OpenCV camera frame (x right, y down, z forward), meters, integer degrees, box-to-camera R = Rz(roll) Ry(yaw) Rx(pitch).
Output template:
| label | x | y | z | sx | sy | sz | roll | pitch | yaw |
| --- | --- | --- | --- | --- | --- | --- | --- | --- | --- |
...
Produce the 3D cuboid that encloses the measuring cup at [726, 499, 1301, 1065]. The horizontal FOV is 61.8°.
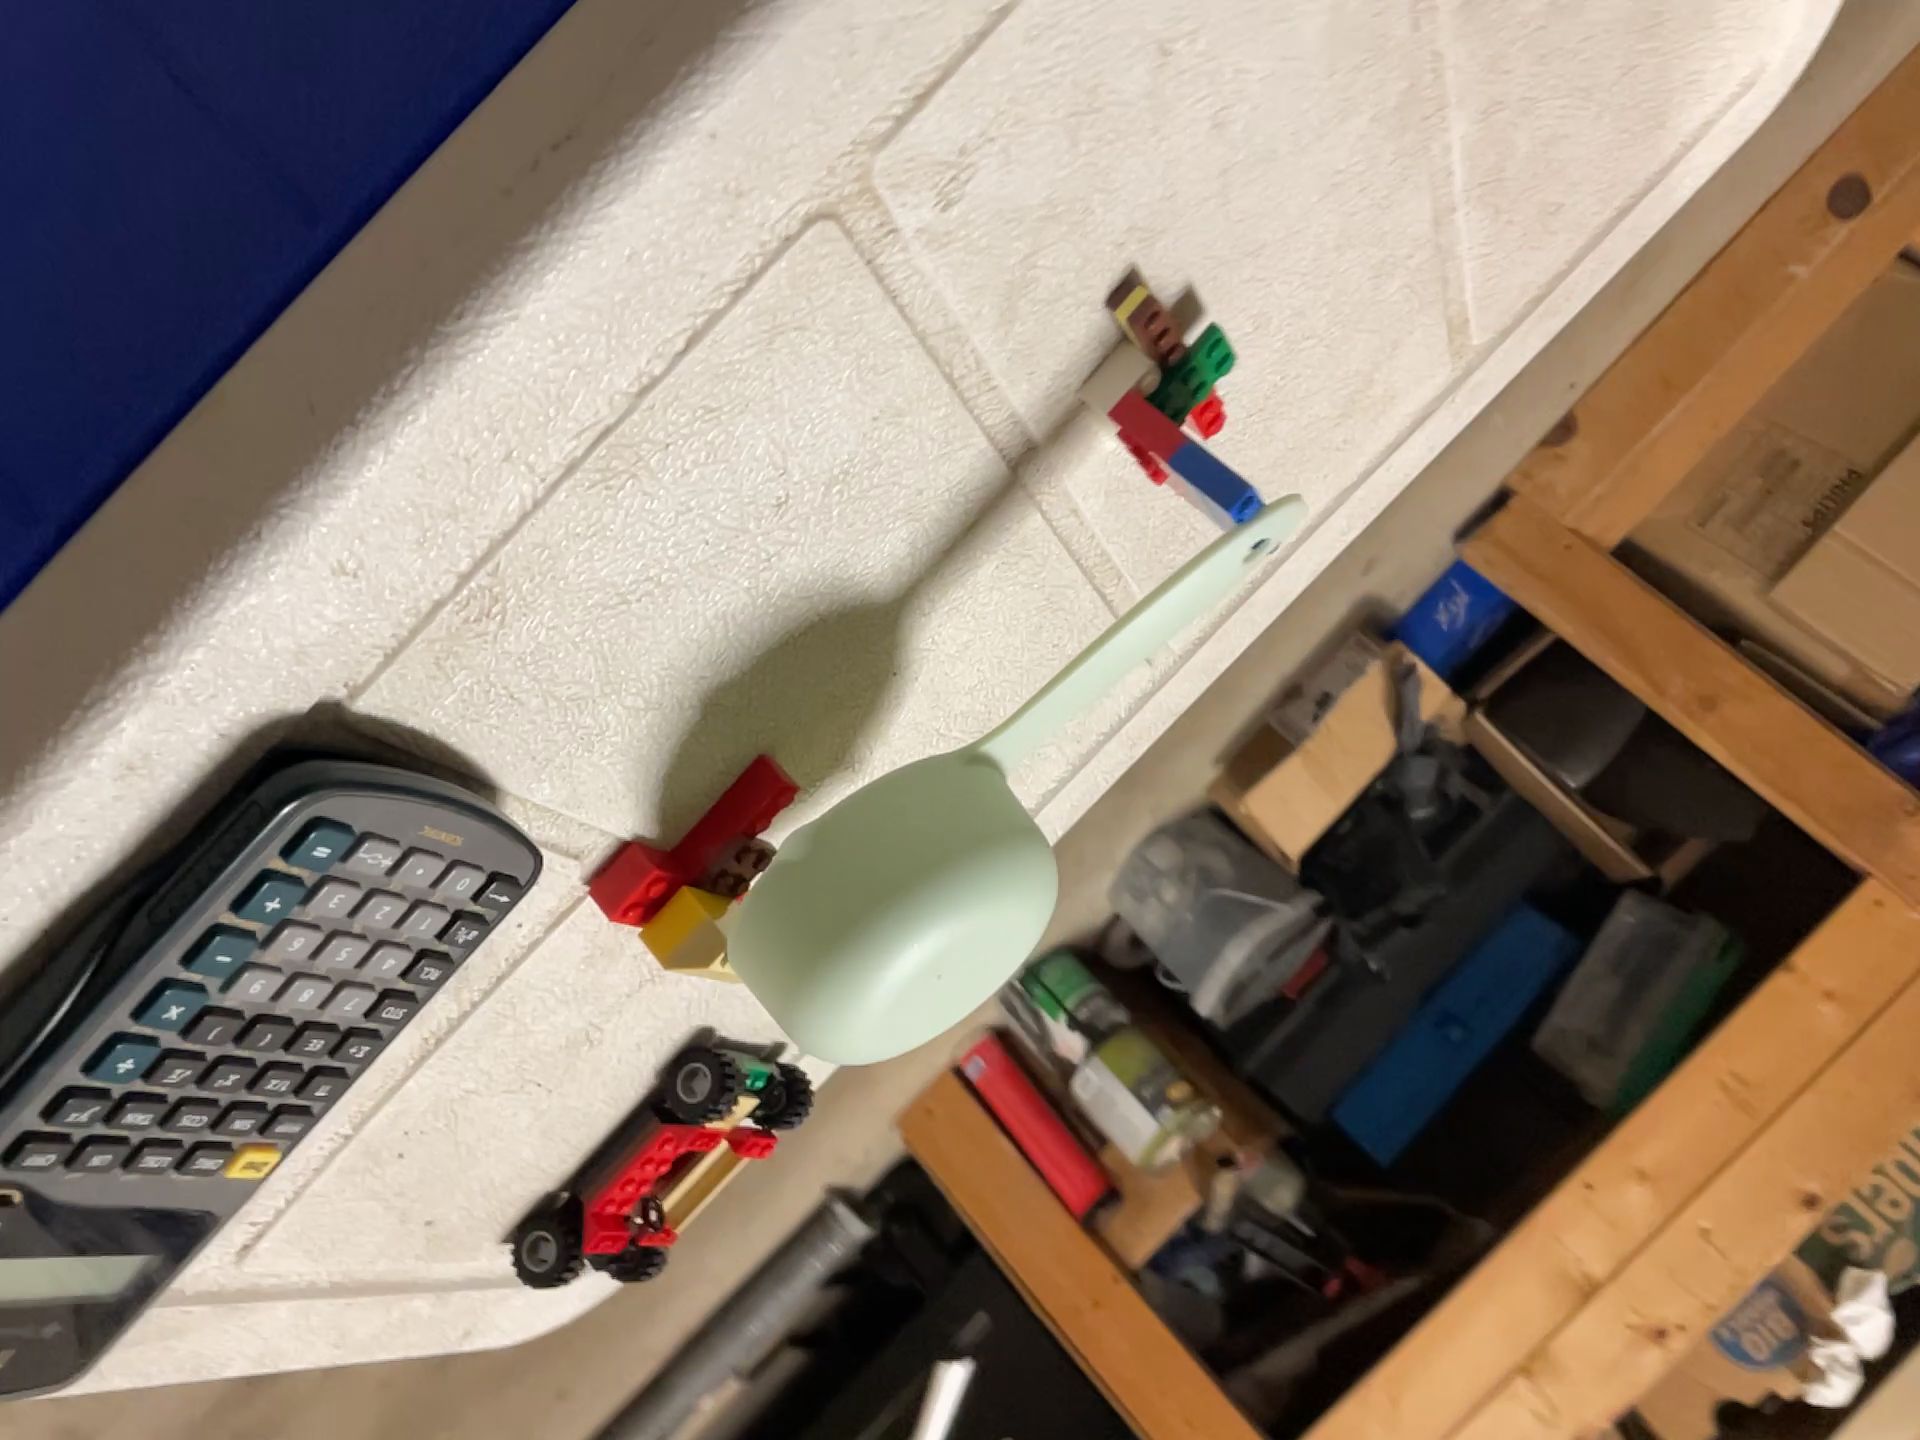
| label | x | y | z | sx | sy | sz | roll | pitch | yaw |
| --- | --- | --- | --- | --- | --- | --- | --- | --- | --- |
| measuring cup | 0.022 | 0.017 | 0.363 | 0.167 | 0.038 | 0.083 | -41 | 155 | 6 |
